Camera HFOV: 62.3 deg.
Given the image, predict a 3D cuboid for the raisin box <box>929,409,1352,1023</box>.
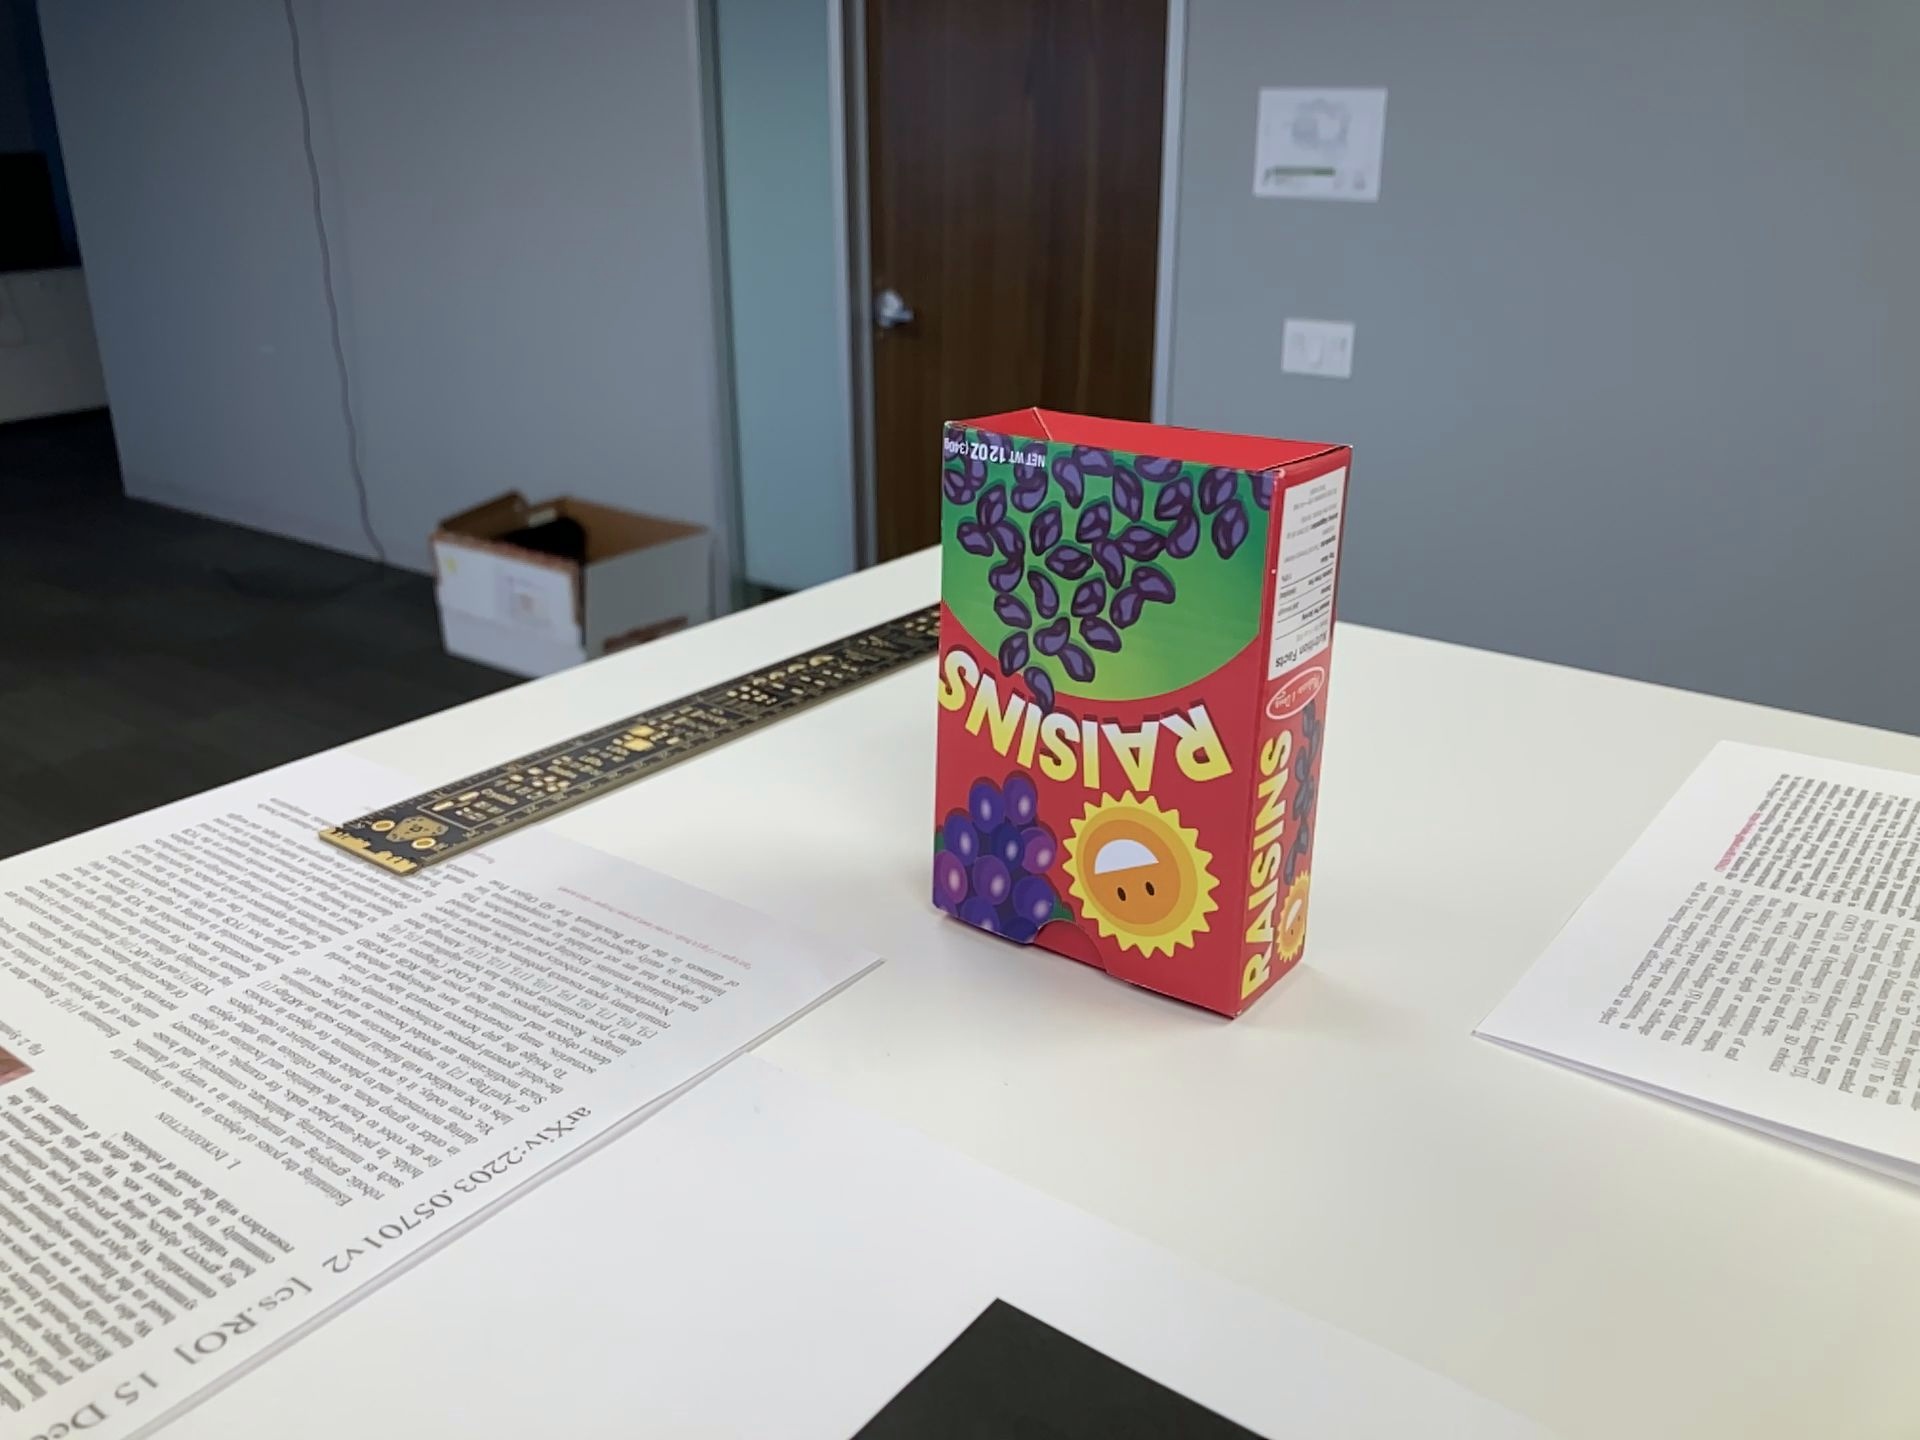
[{"bbox_3d":[0.038,-0.004,0.364,0.086,0.123,0.040,14,23,32],"label":"raisin box"}]
